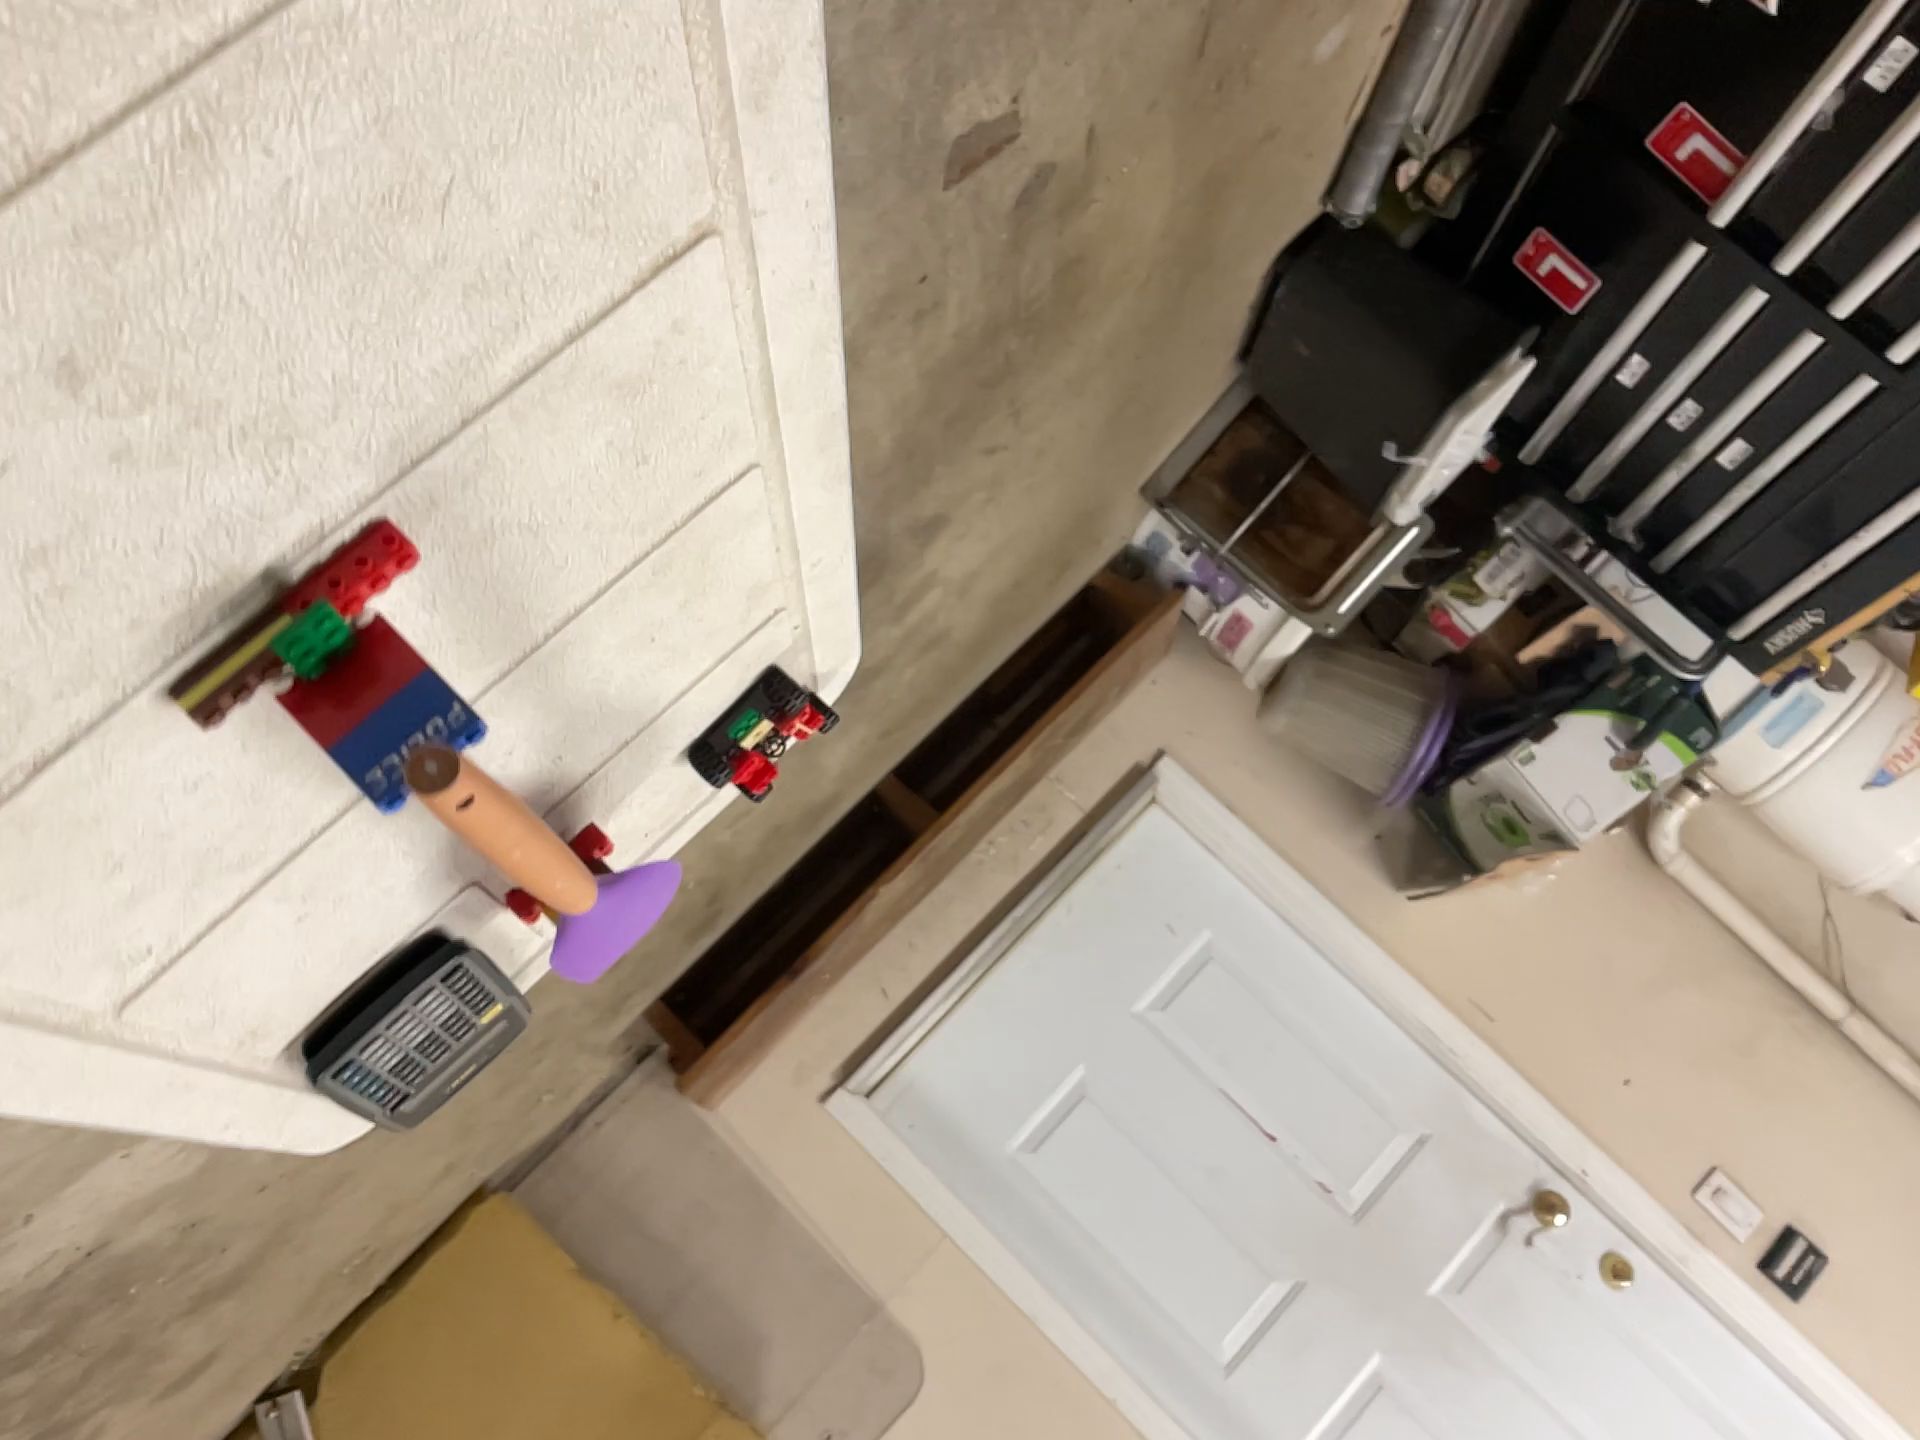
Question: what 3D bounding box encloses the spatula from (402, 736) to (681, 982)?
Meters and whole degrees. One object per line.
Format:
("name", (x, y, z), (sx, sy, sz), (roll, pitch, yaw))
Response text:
("spatula", (-0.126, 0.049, 0.508), (0.060, 0.018, 0.315), (-44, 171, -12))
